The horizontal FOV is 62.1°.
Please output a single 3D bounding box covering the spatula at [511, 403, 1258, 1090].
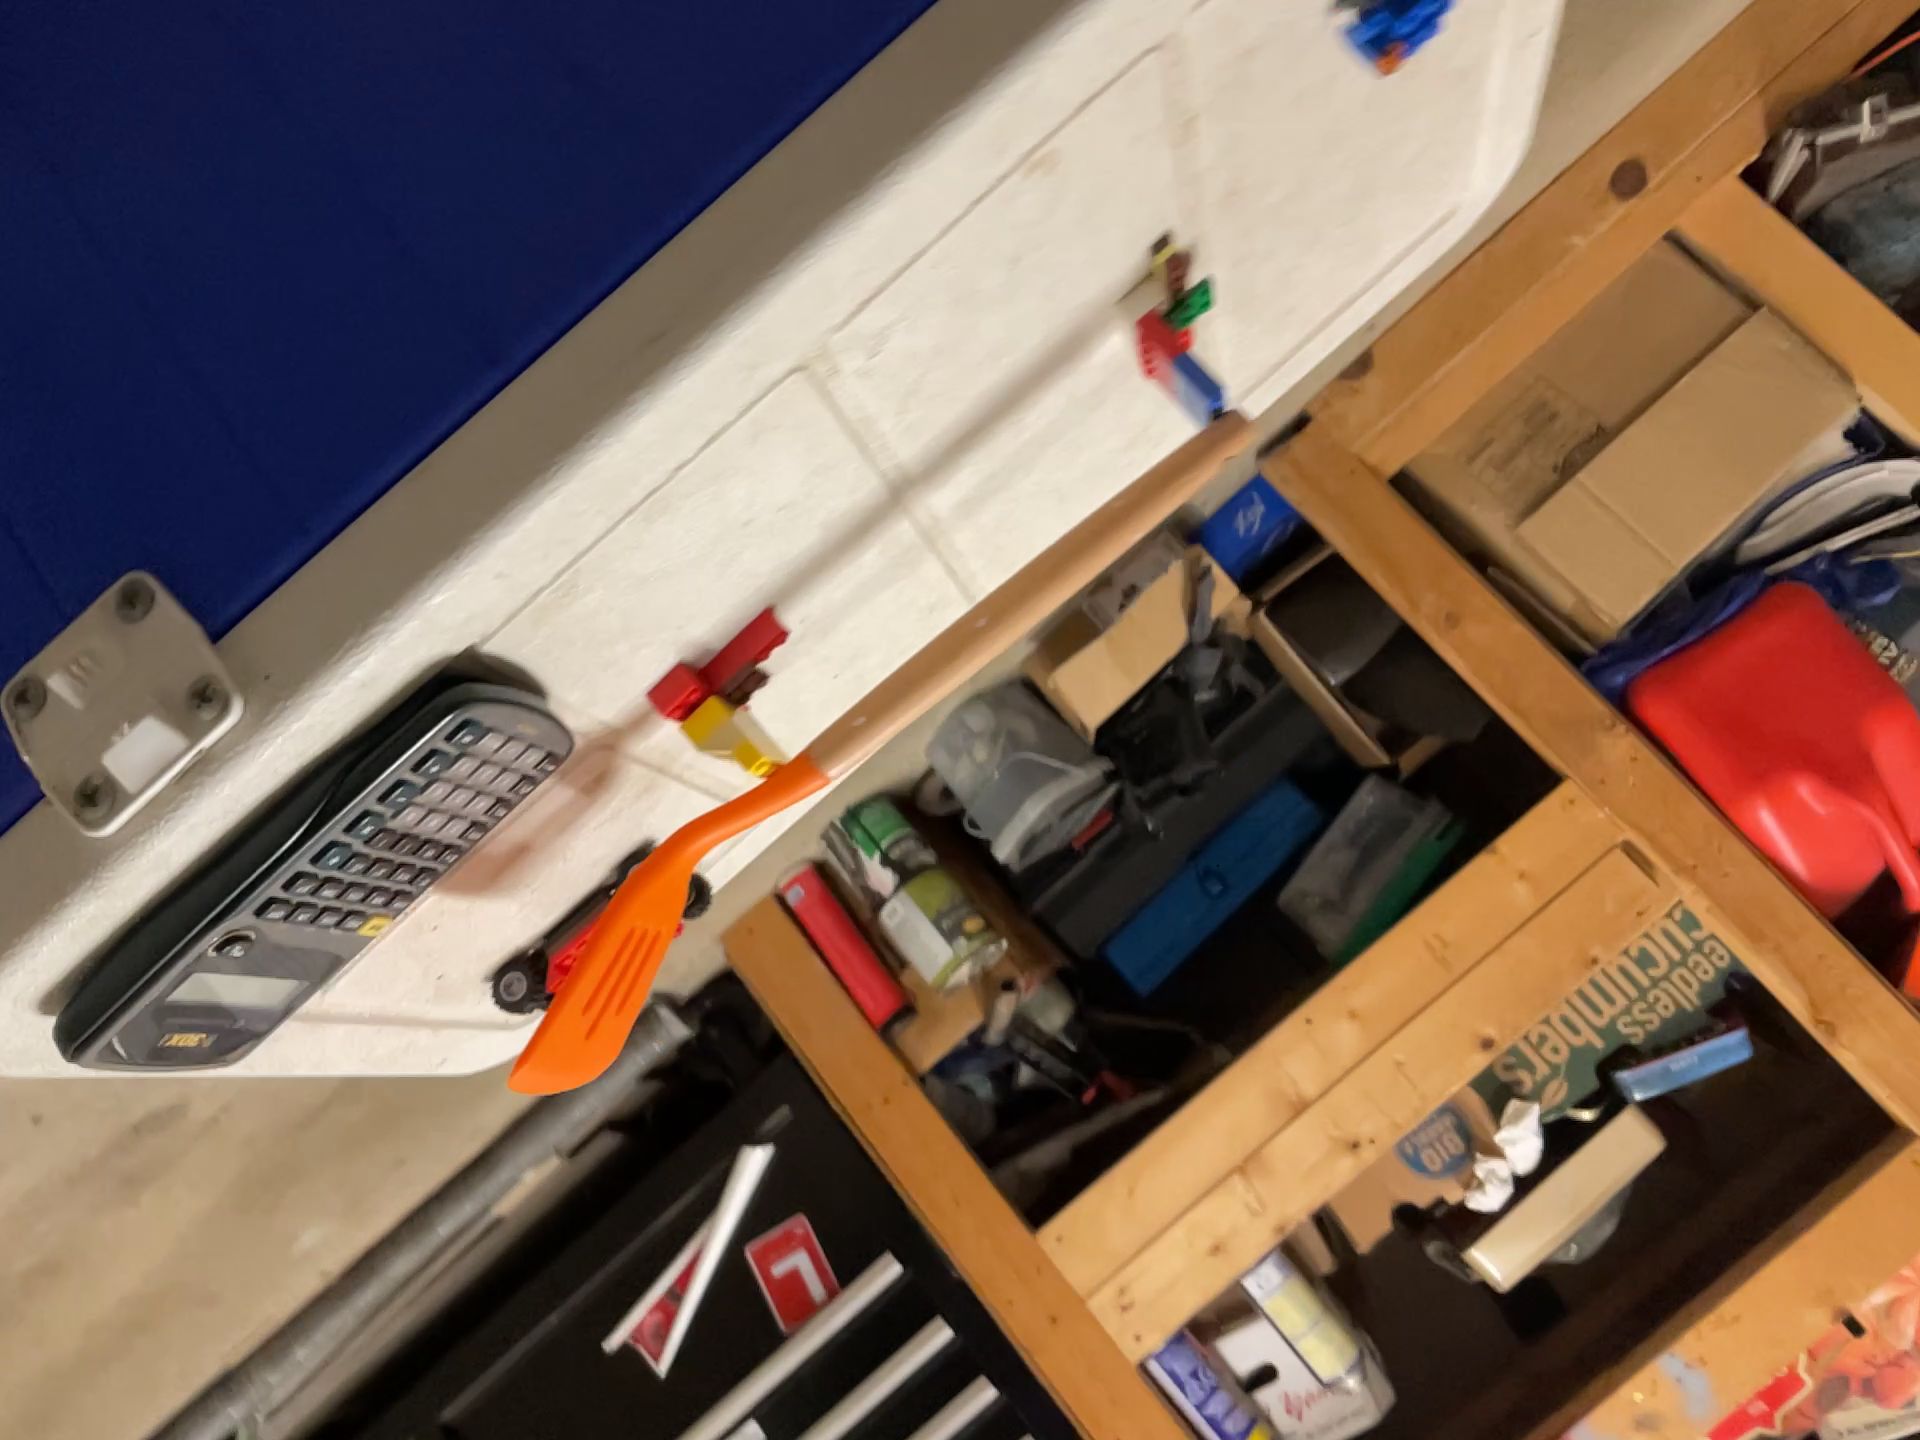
[{"bbox_3d":[-0.023,0.006,0.535,0.322,0.041,0.081,-39,166,-1],"label":"spatula"}]
